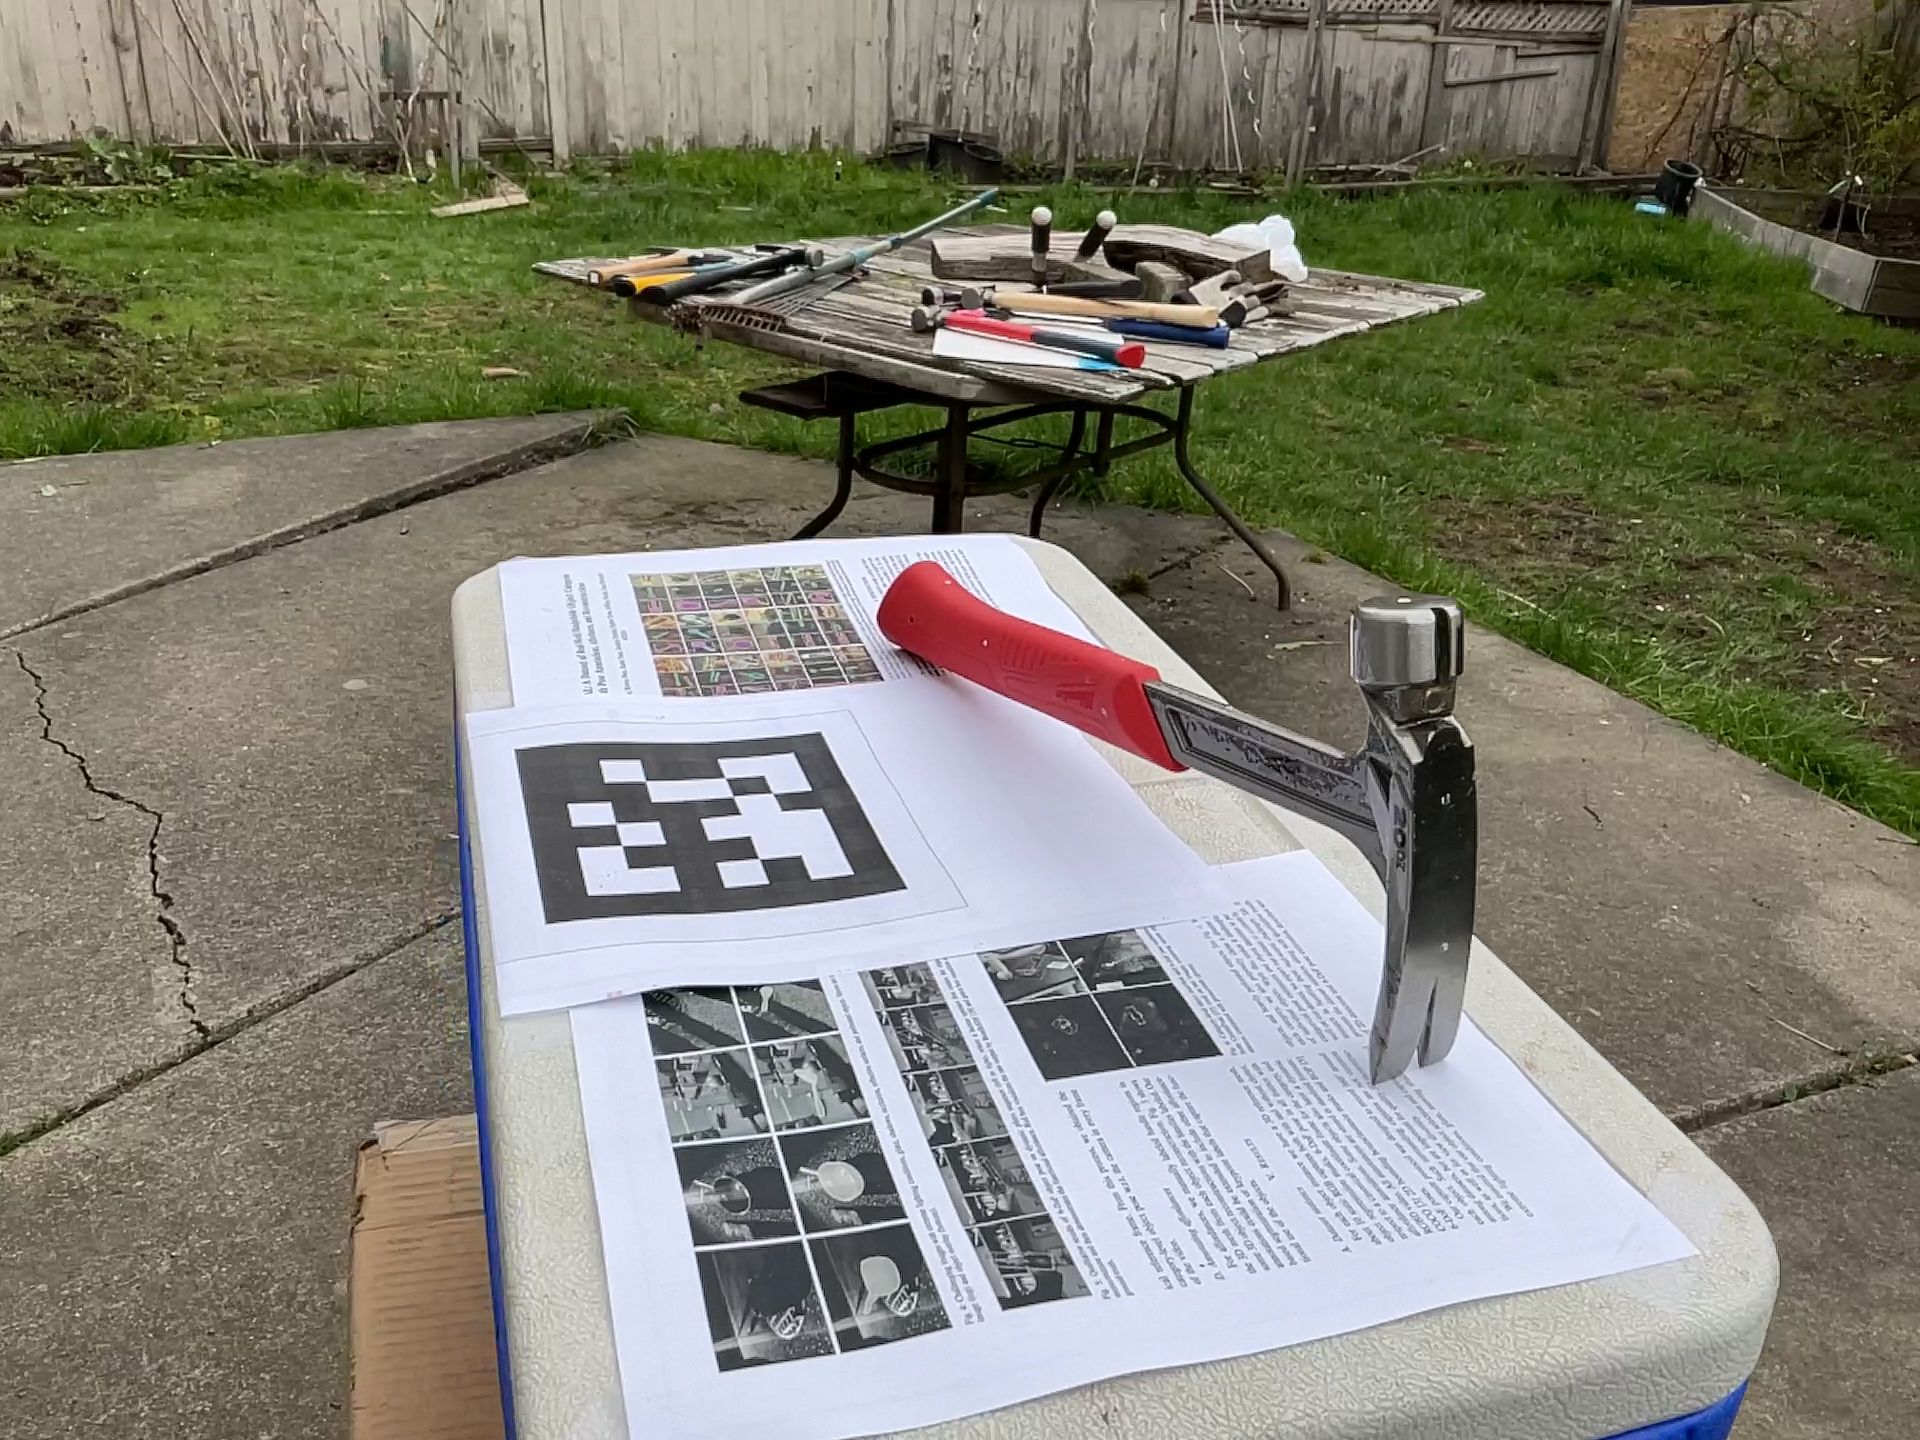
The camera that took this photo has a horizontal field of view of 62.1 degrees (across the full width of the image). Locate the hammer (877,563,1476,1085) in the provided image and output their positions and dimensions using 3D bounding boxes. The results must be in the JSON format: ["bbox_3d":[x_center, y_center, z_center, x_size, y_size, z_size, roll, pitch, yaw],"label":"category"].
[{"bbox_3d":[0.059,0.001,0.621,0.036,0.149,0.359,-11,18,-25],"label":"hammer"}]
